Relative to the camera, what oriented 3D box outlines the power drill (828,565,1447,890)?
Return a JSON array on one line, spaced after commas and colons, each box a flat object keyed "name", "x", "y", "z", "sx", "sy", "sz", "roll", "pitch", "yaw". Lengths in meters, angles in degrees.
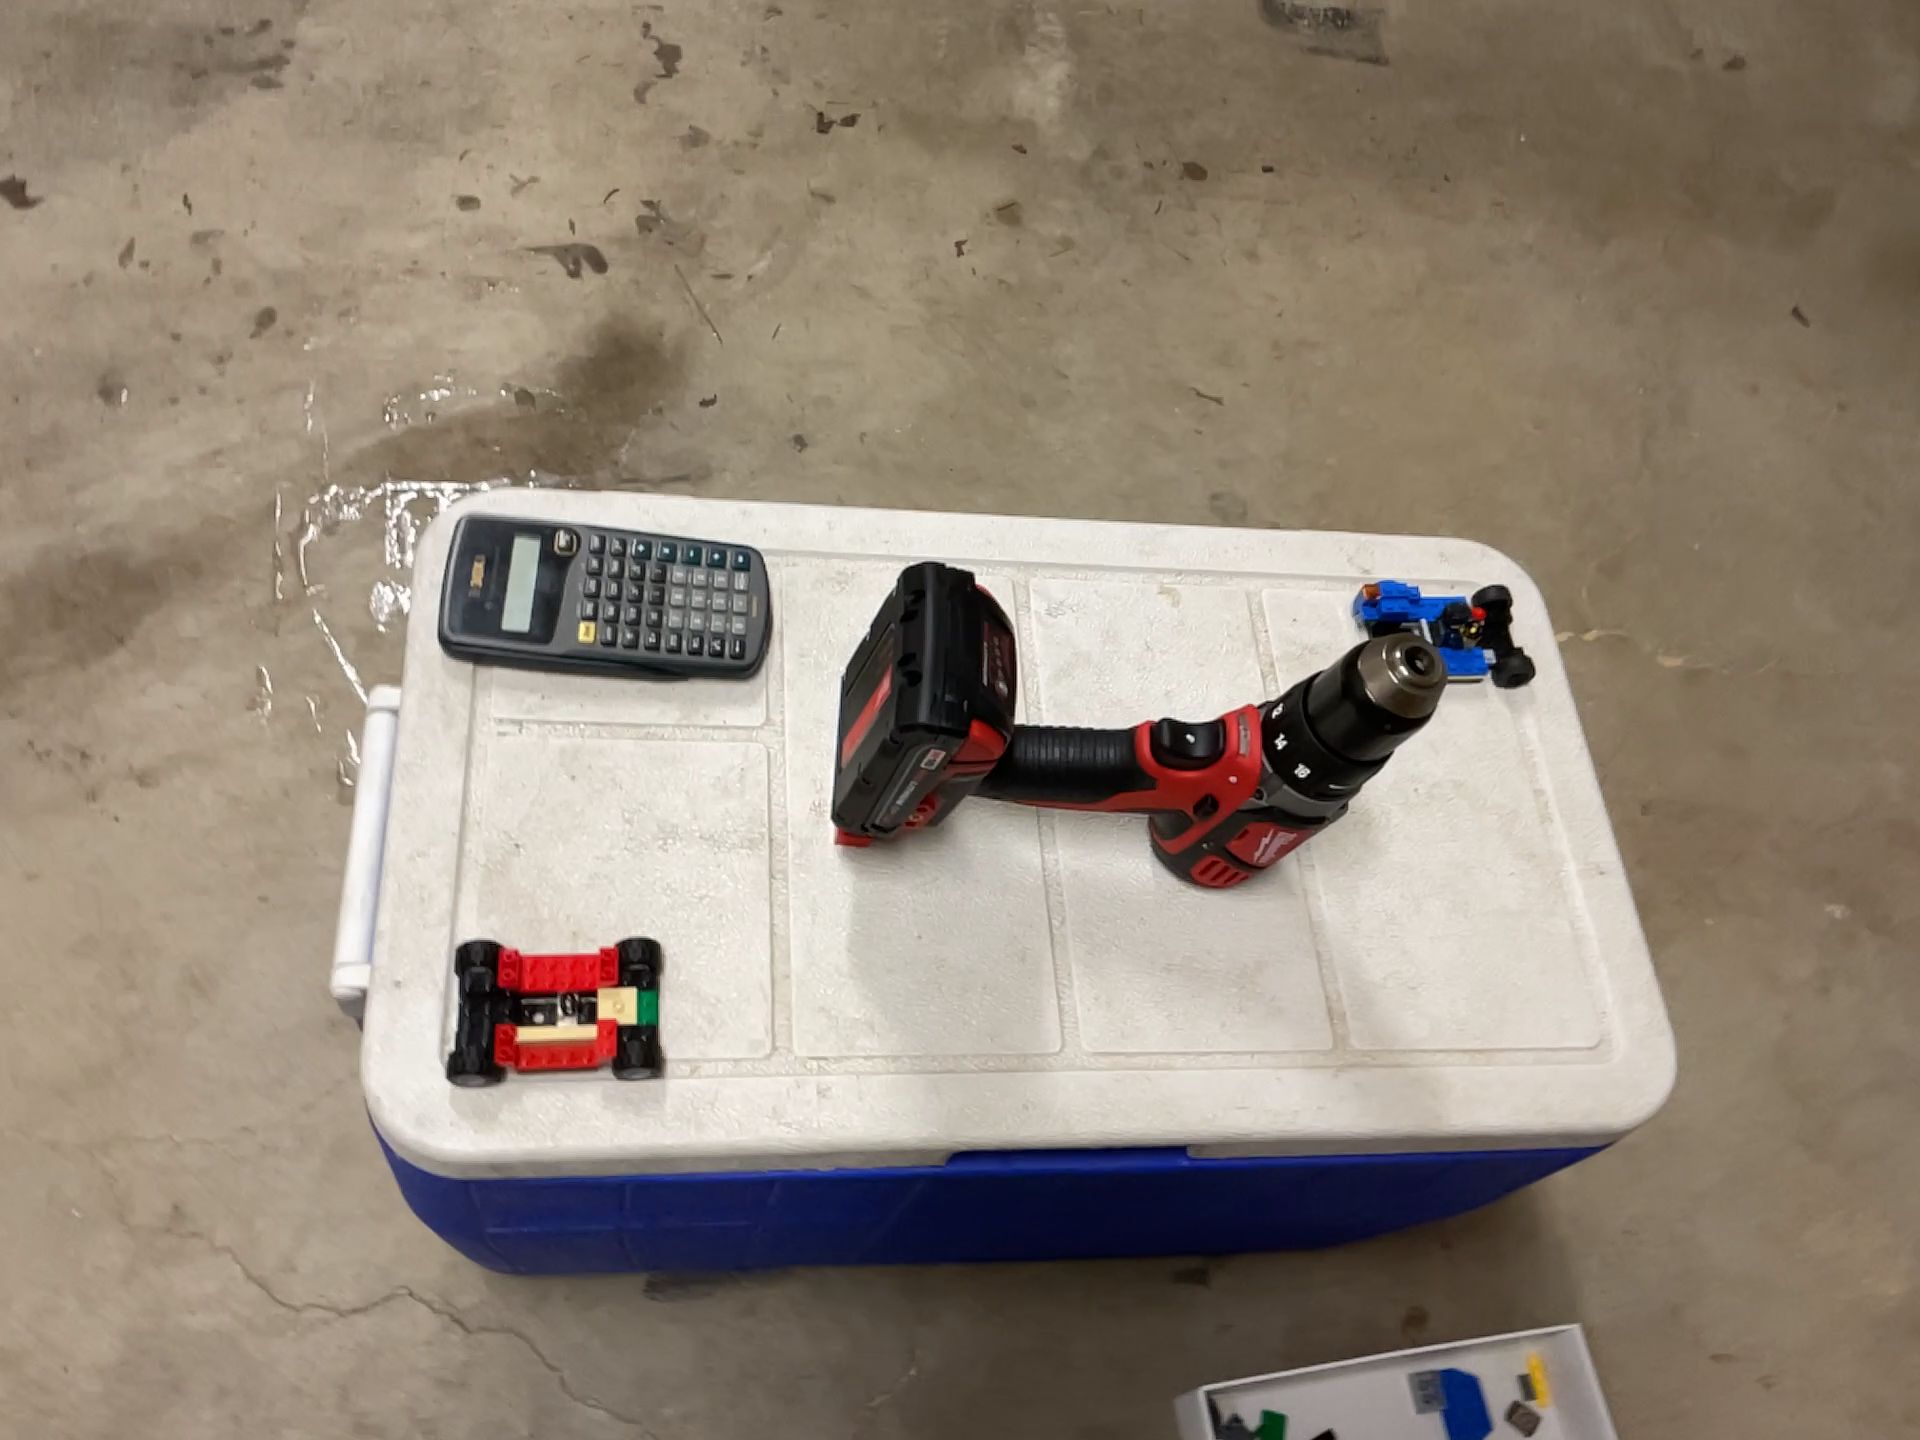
[{"name": "power drill", "x": 0.073, "y": 0.004, "z": 0.683, "sx": 0.227, "sy": 0.187, "sz": 0.080, "roll": 12, "pitch": 60, "yaw": -17}]
